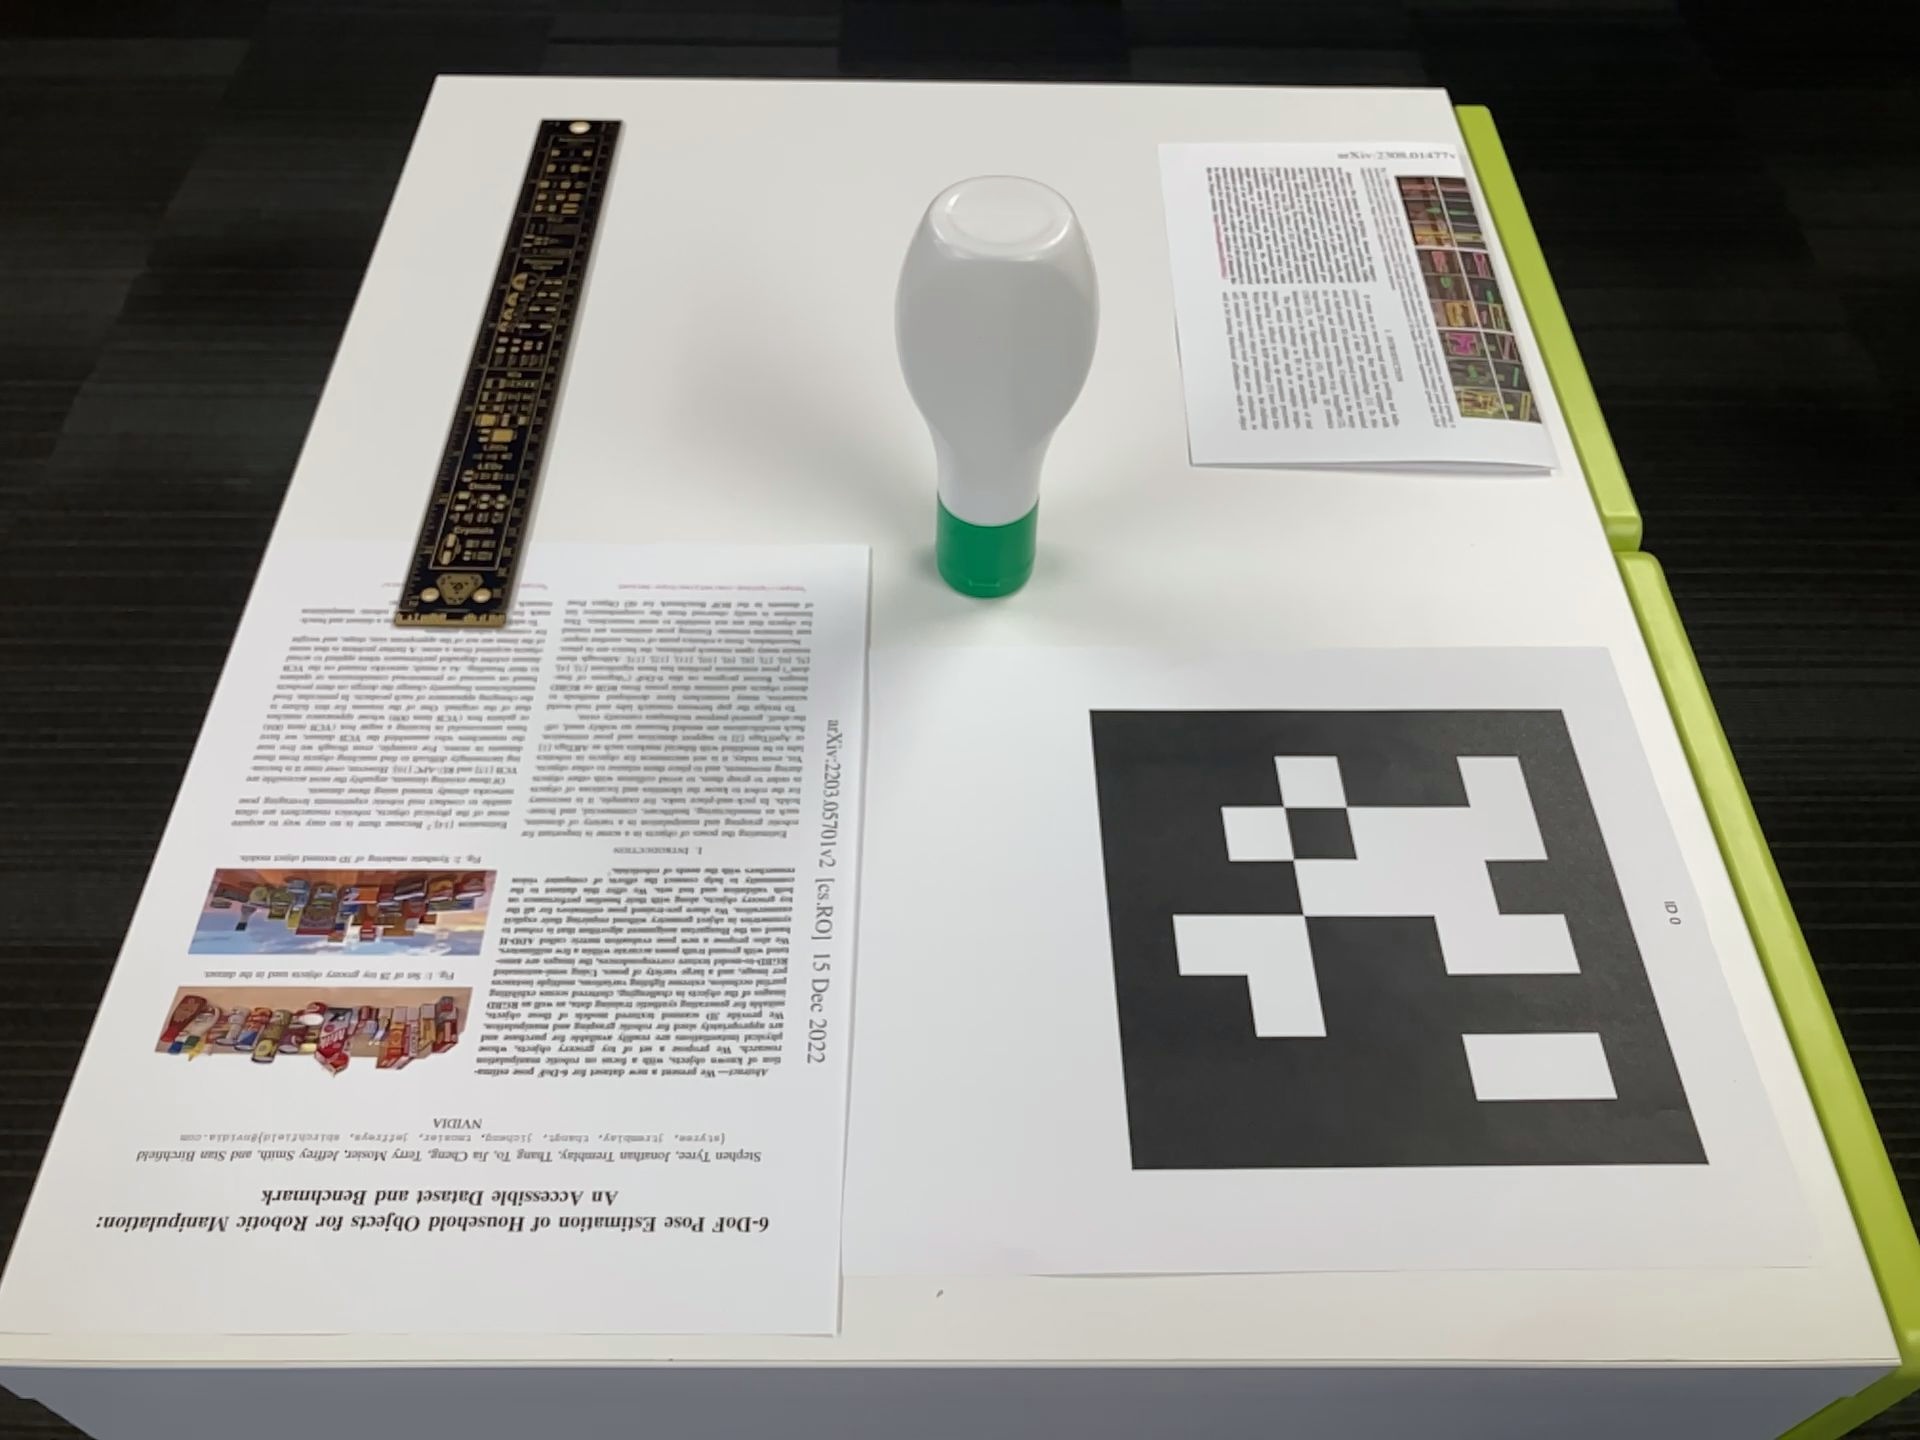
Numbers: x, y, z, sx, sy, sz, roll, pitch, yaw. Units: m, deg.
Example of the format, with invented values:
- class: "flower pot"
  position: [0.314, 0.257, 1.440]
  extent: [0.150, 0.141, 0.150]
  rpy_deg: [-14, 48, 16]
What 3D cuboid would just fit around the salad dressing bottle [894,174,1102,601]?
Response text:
- class: "salad dressing bottle"
  position: [0.011, -0.102, 0.521]
  extent: [0.064, 0.147, 0.044]
  rpy_deg: [2, 51, 0]
